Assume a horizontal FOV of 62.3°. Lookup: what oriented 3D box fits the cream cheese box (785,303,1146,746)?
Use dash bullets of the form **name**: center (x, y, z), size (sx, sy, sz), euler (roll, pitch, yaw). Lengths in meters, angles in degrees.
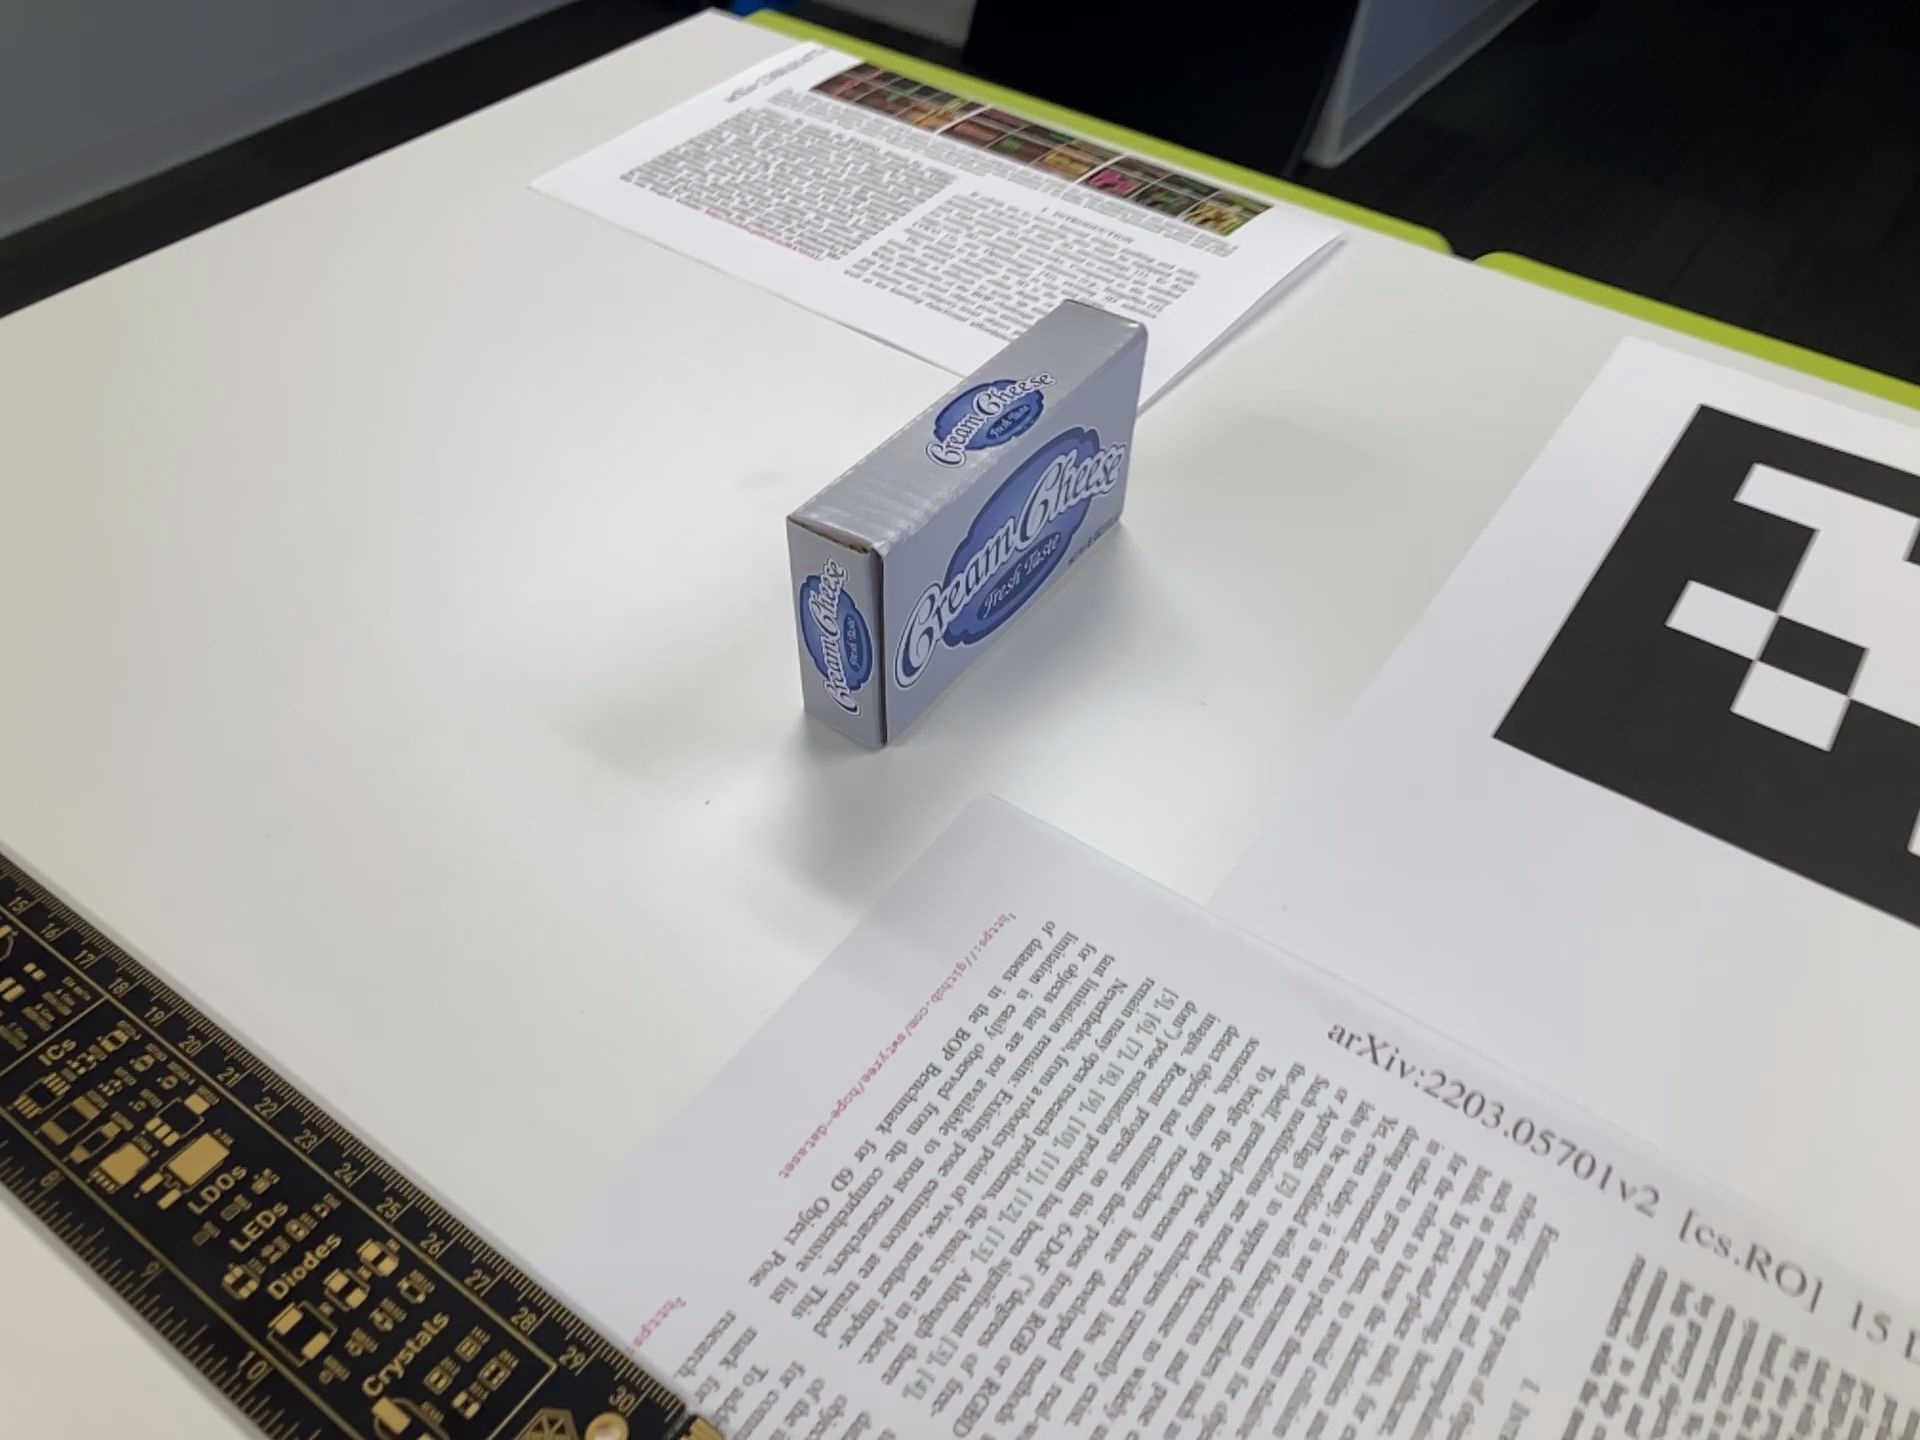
- **cream cheese box**: center (0.004, -0.045, 0.349), size (0.024, 0.053, 0.104), euler (26, 49, 24)
